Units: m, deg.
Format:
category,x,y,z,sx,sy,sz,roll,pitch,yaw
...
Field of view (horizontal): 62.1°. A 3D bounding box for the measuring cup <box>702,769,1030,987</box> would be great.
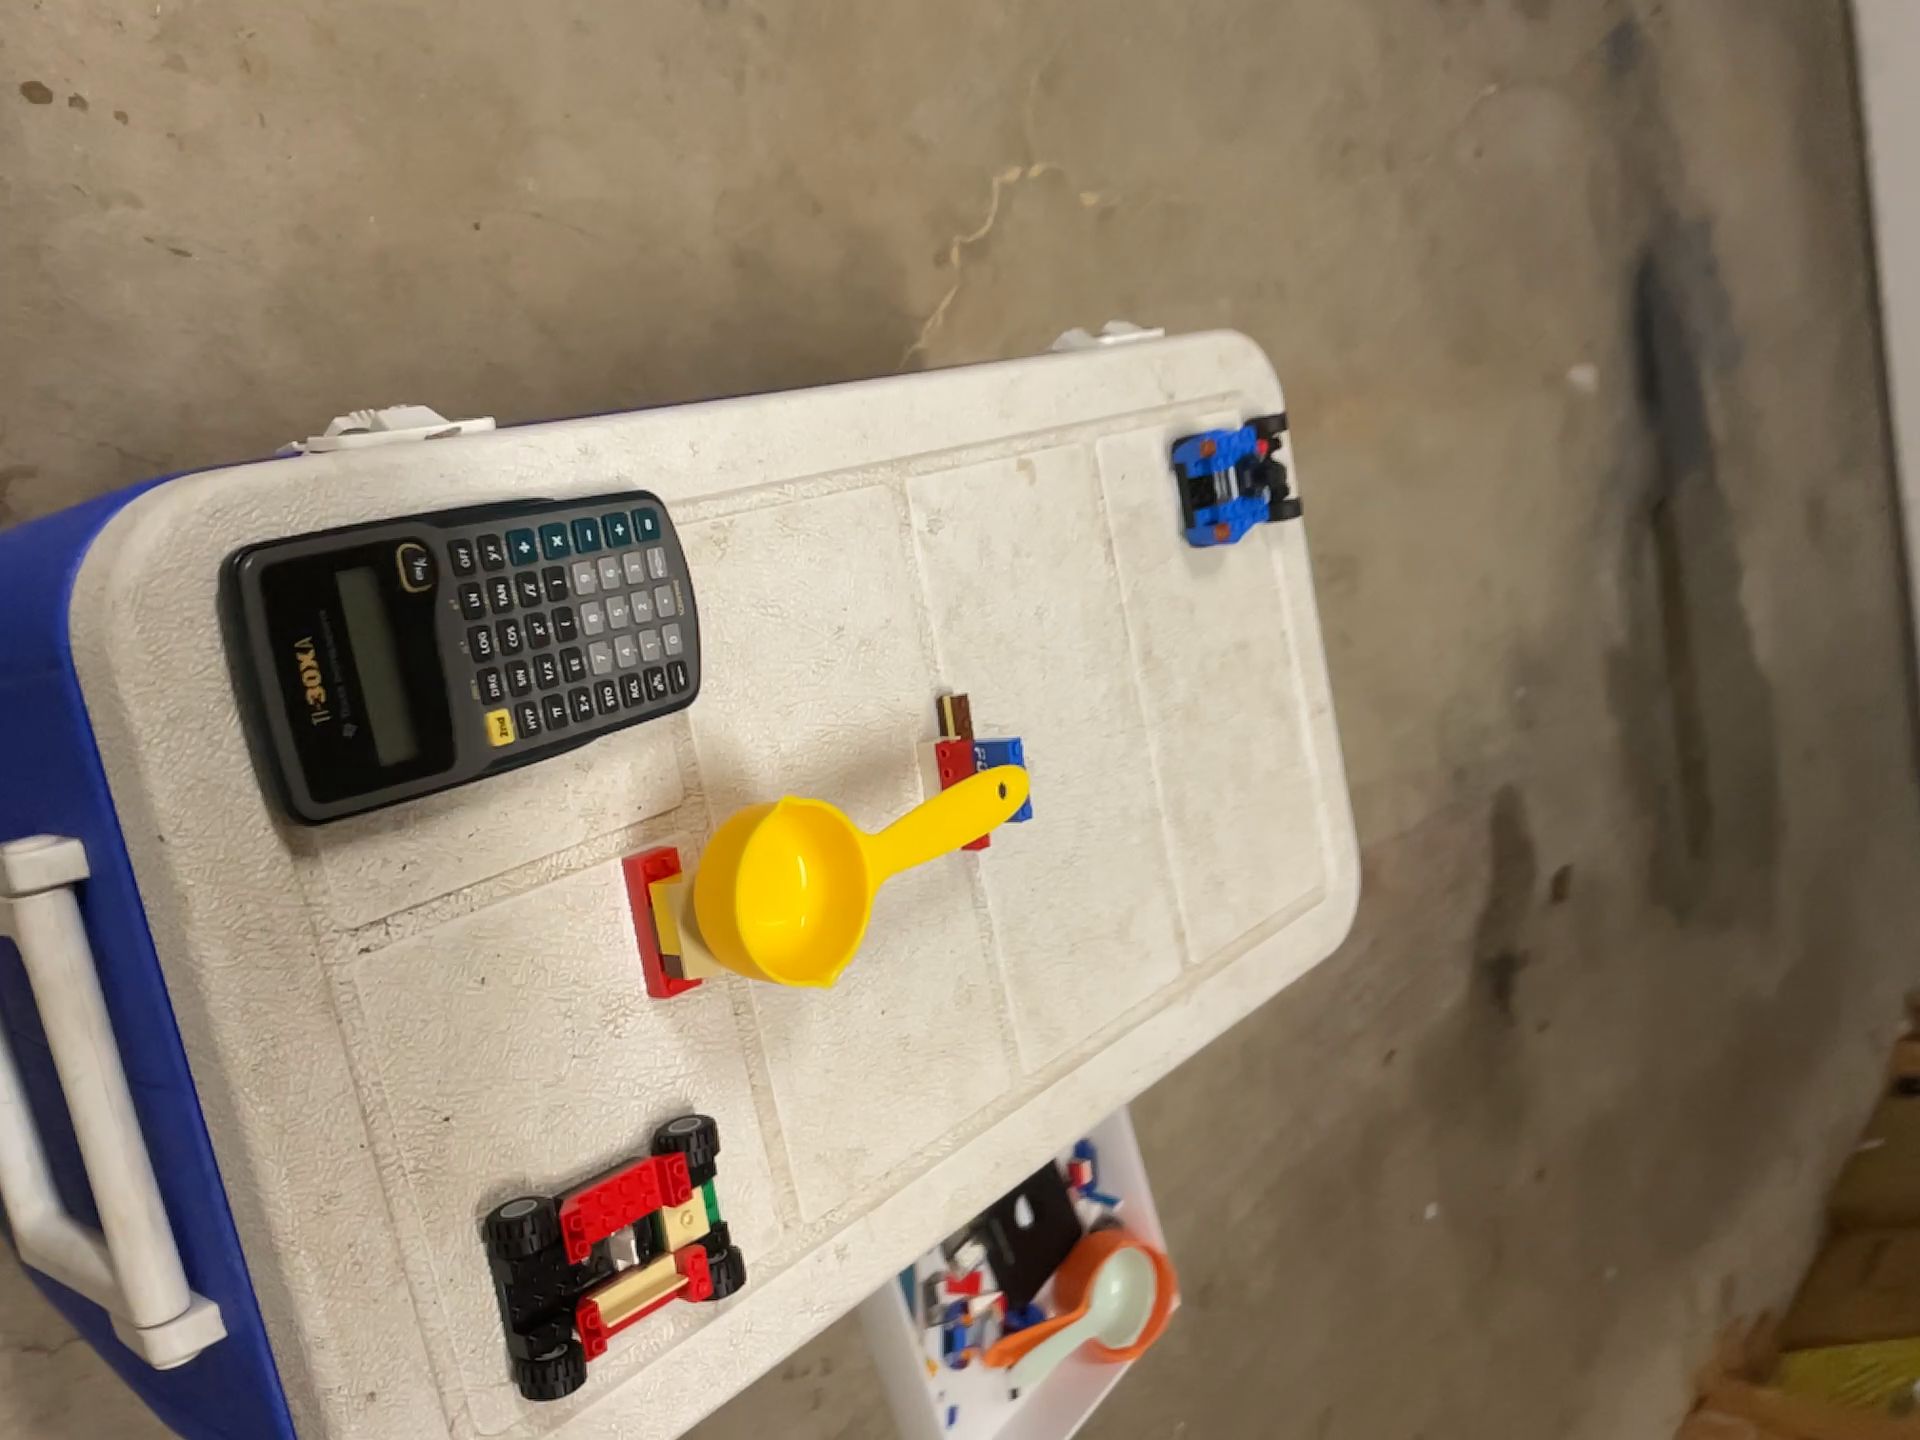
category,x,y,z,sx,sy,sz,roll,pitch,yaw
measuring cup,-0.029,0.045,0.560,0.156,0.029,0.062,-23,105,-50
